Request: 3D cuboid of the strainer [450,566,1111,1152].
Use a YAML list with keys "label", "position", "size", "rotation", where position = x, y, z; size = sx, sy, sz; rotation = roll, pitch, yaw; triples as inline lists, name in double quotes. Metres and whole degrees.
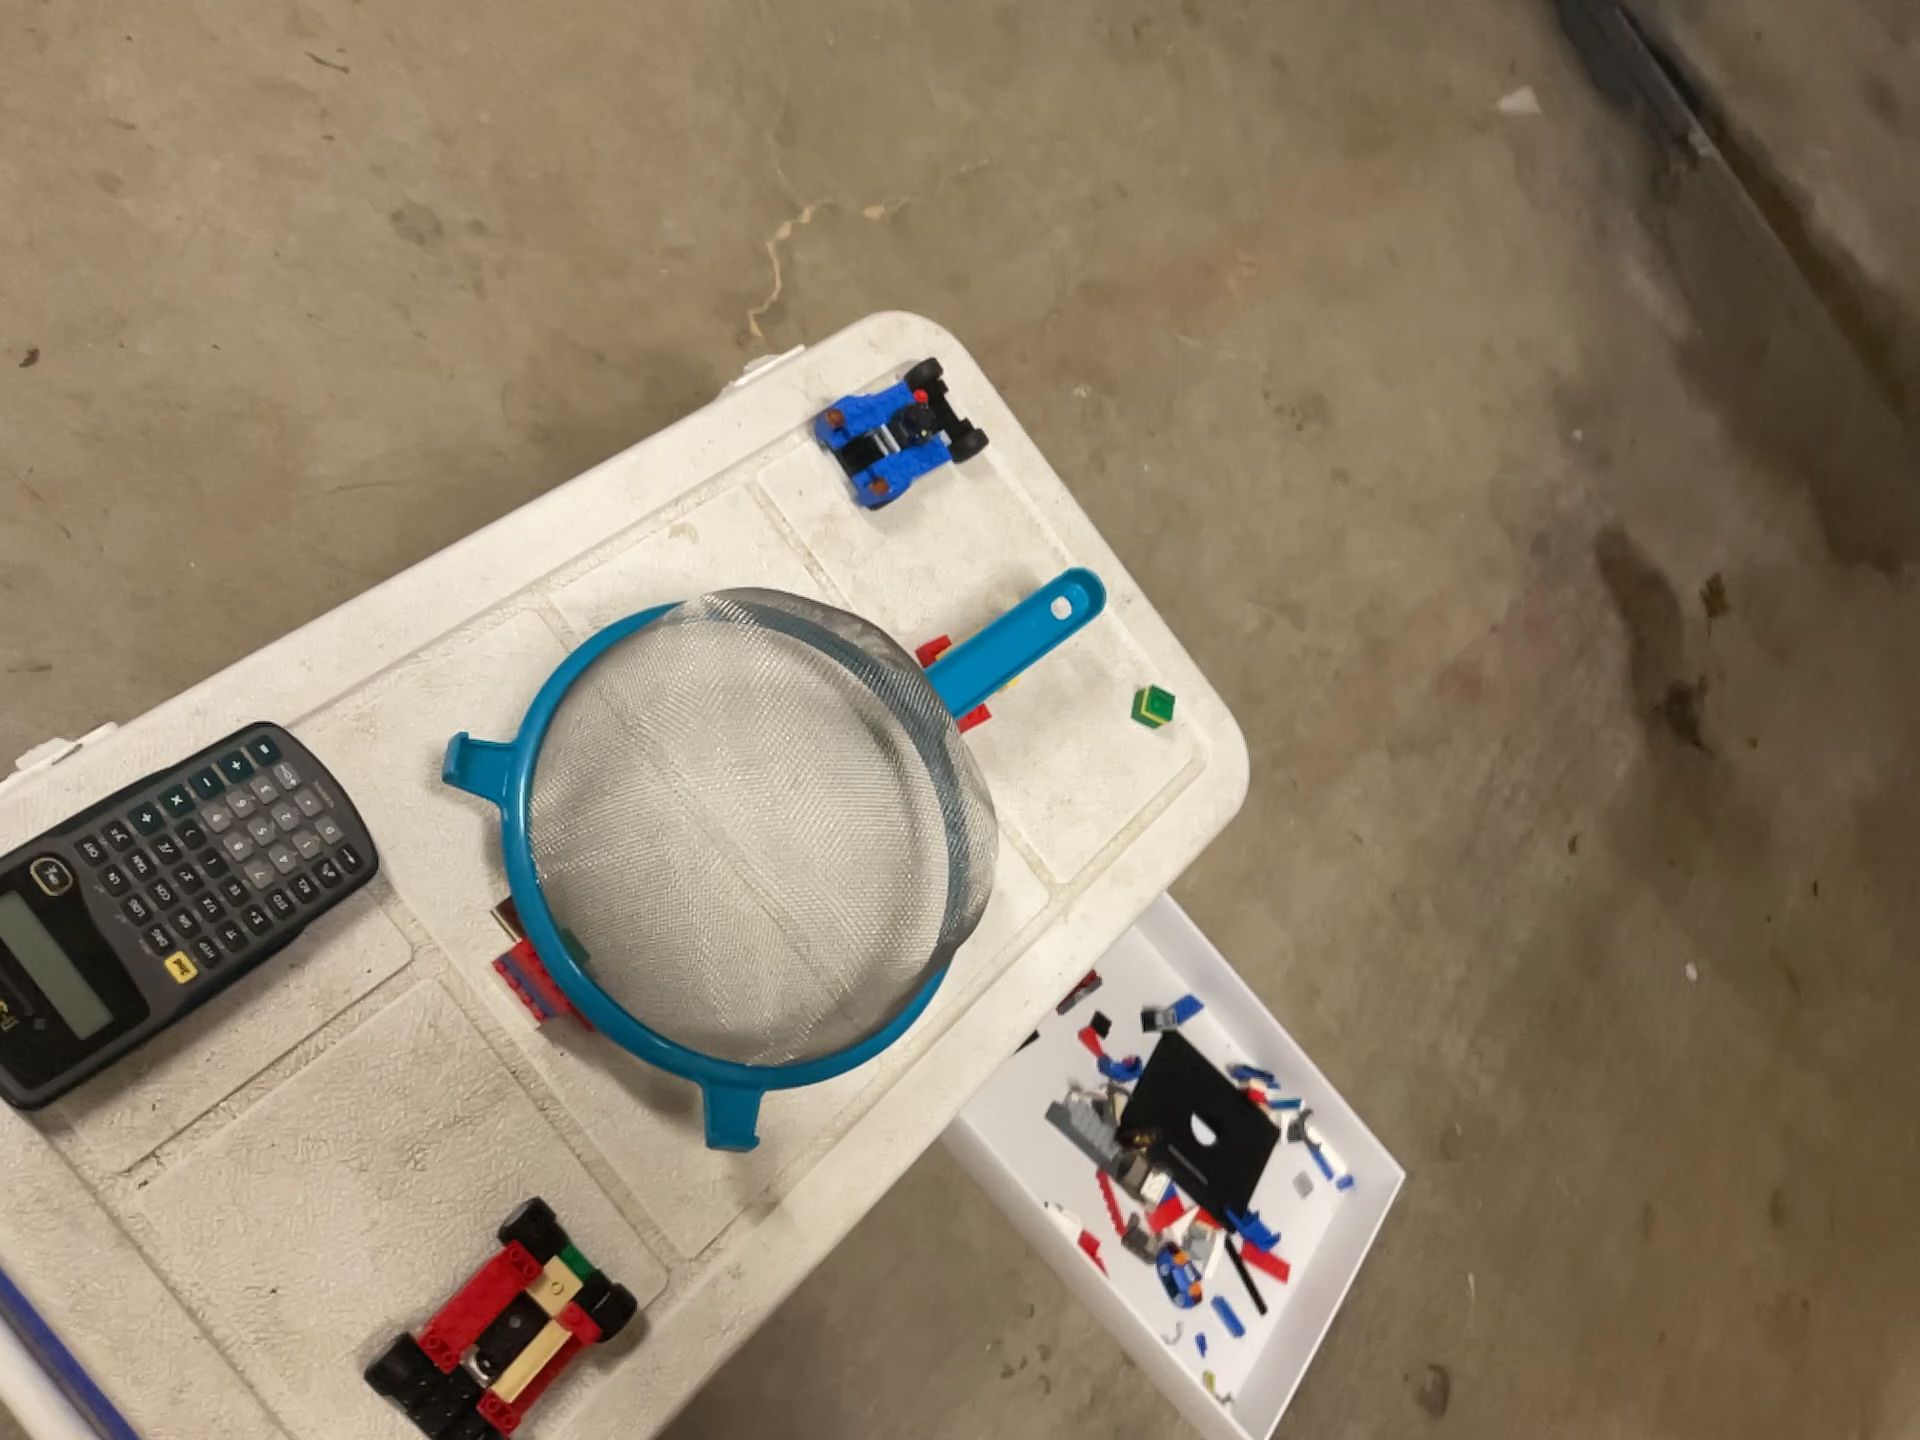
- label: "strainer"
  position: [-0.022, 0.004, 0.674]
  size: [0.341, 0.095, 0.211]
  rotation: [-37, 94, -36]
